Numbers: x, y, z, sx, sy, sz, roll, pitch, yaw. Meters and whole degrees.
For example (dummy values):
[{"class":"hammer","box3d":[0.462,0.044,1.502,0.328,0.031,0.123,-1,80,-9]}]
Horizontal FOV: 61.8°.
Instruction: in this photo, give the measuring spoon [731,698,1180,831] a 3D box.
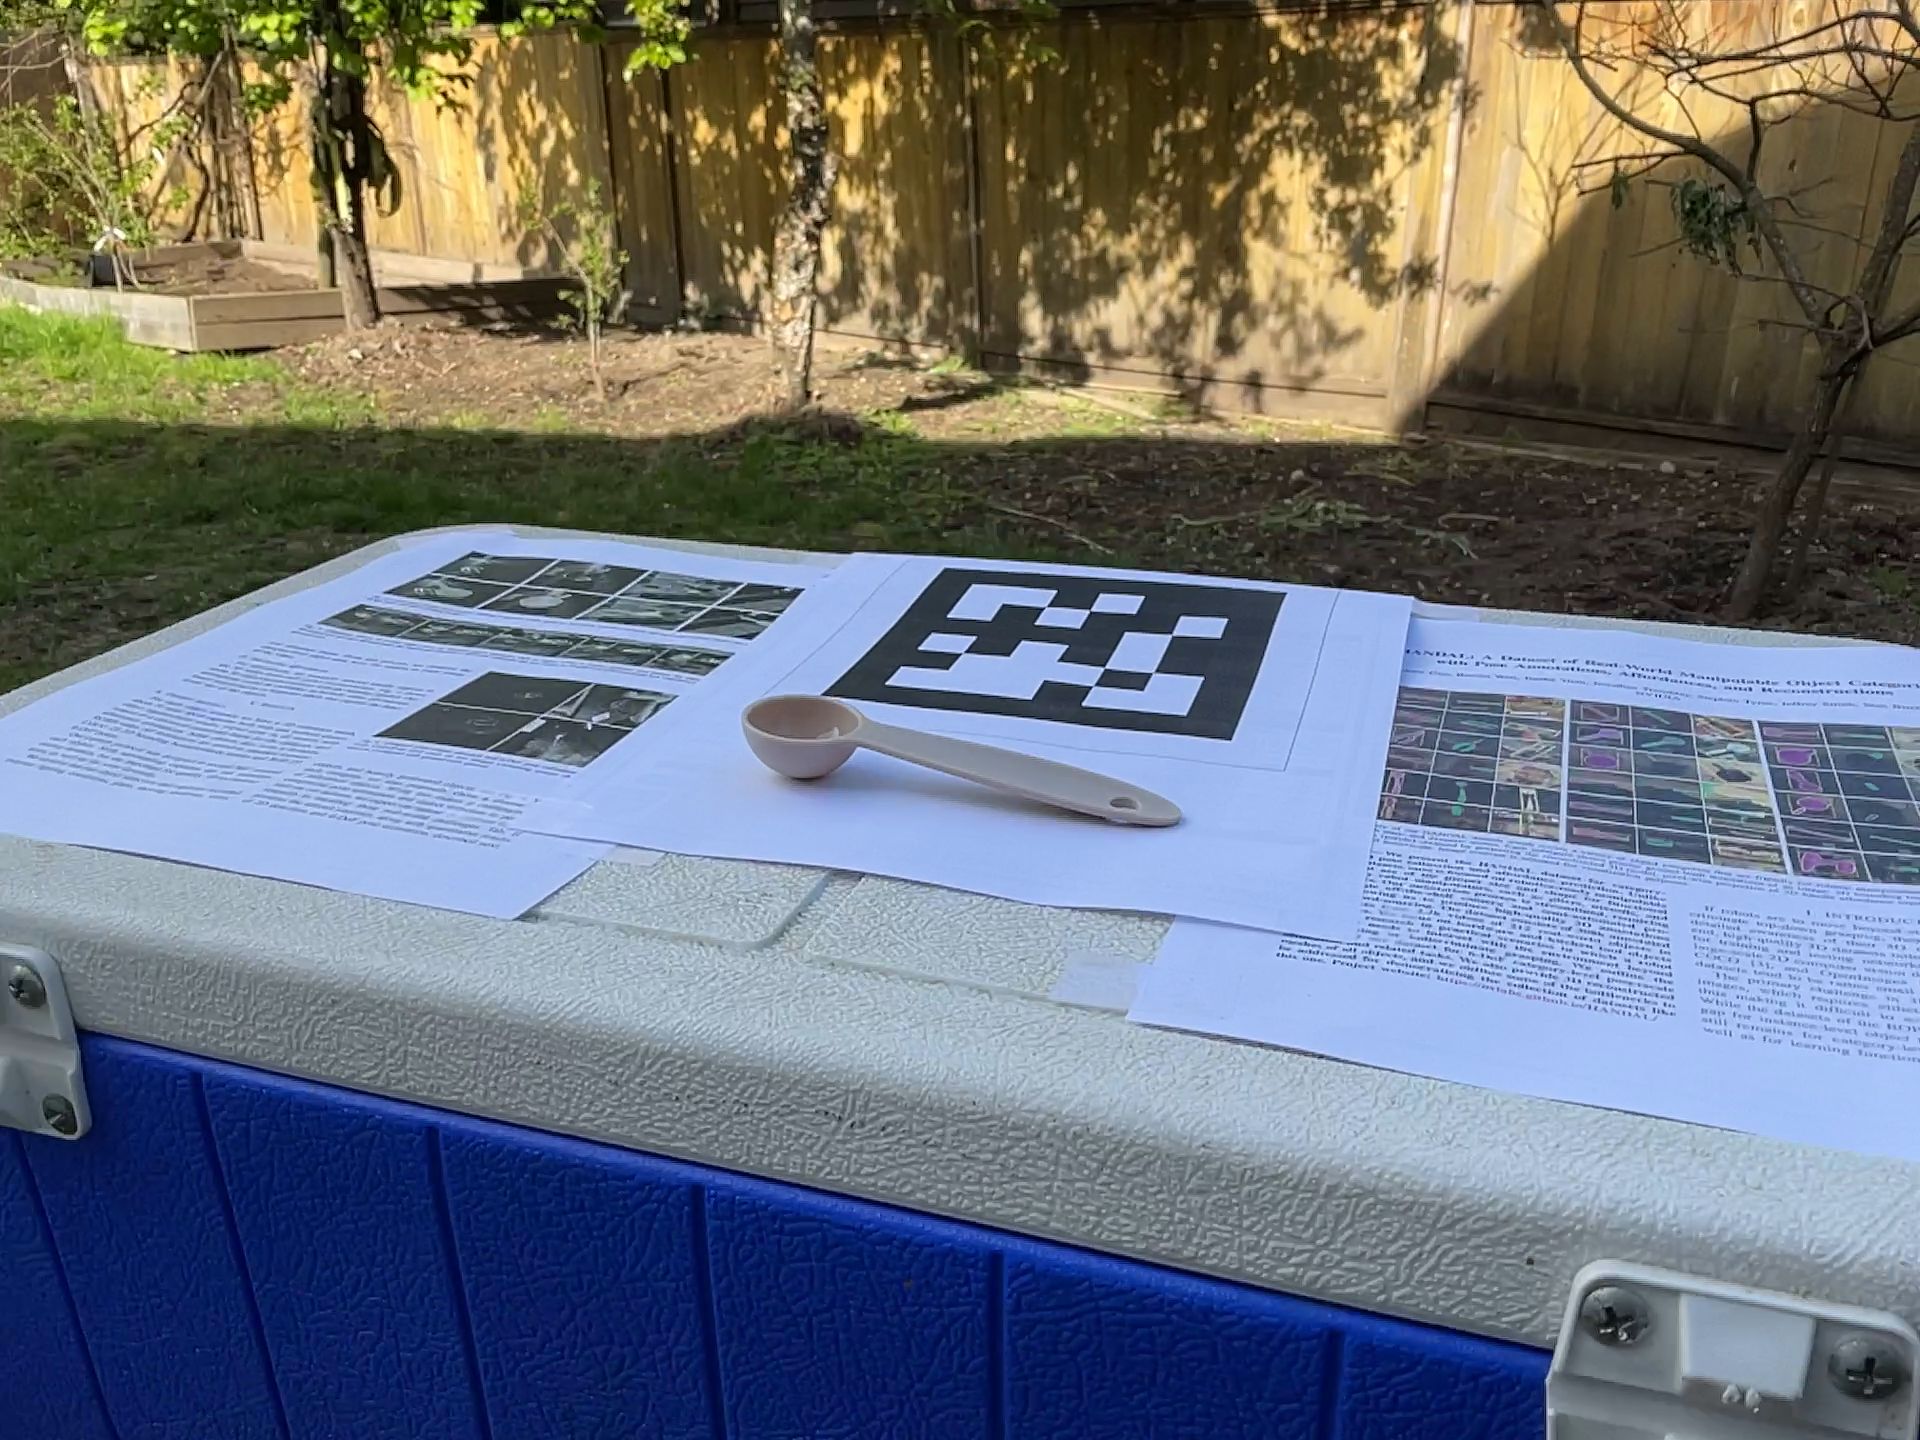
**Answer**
[{"class":"measuring spoon","box3d":[-0.003,0.017,0.426,0.124,0.018,0.034,13,23,15]}]
